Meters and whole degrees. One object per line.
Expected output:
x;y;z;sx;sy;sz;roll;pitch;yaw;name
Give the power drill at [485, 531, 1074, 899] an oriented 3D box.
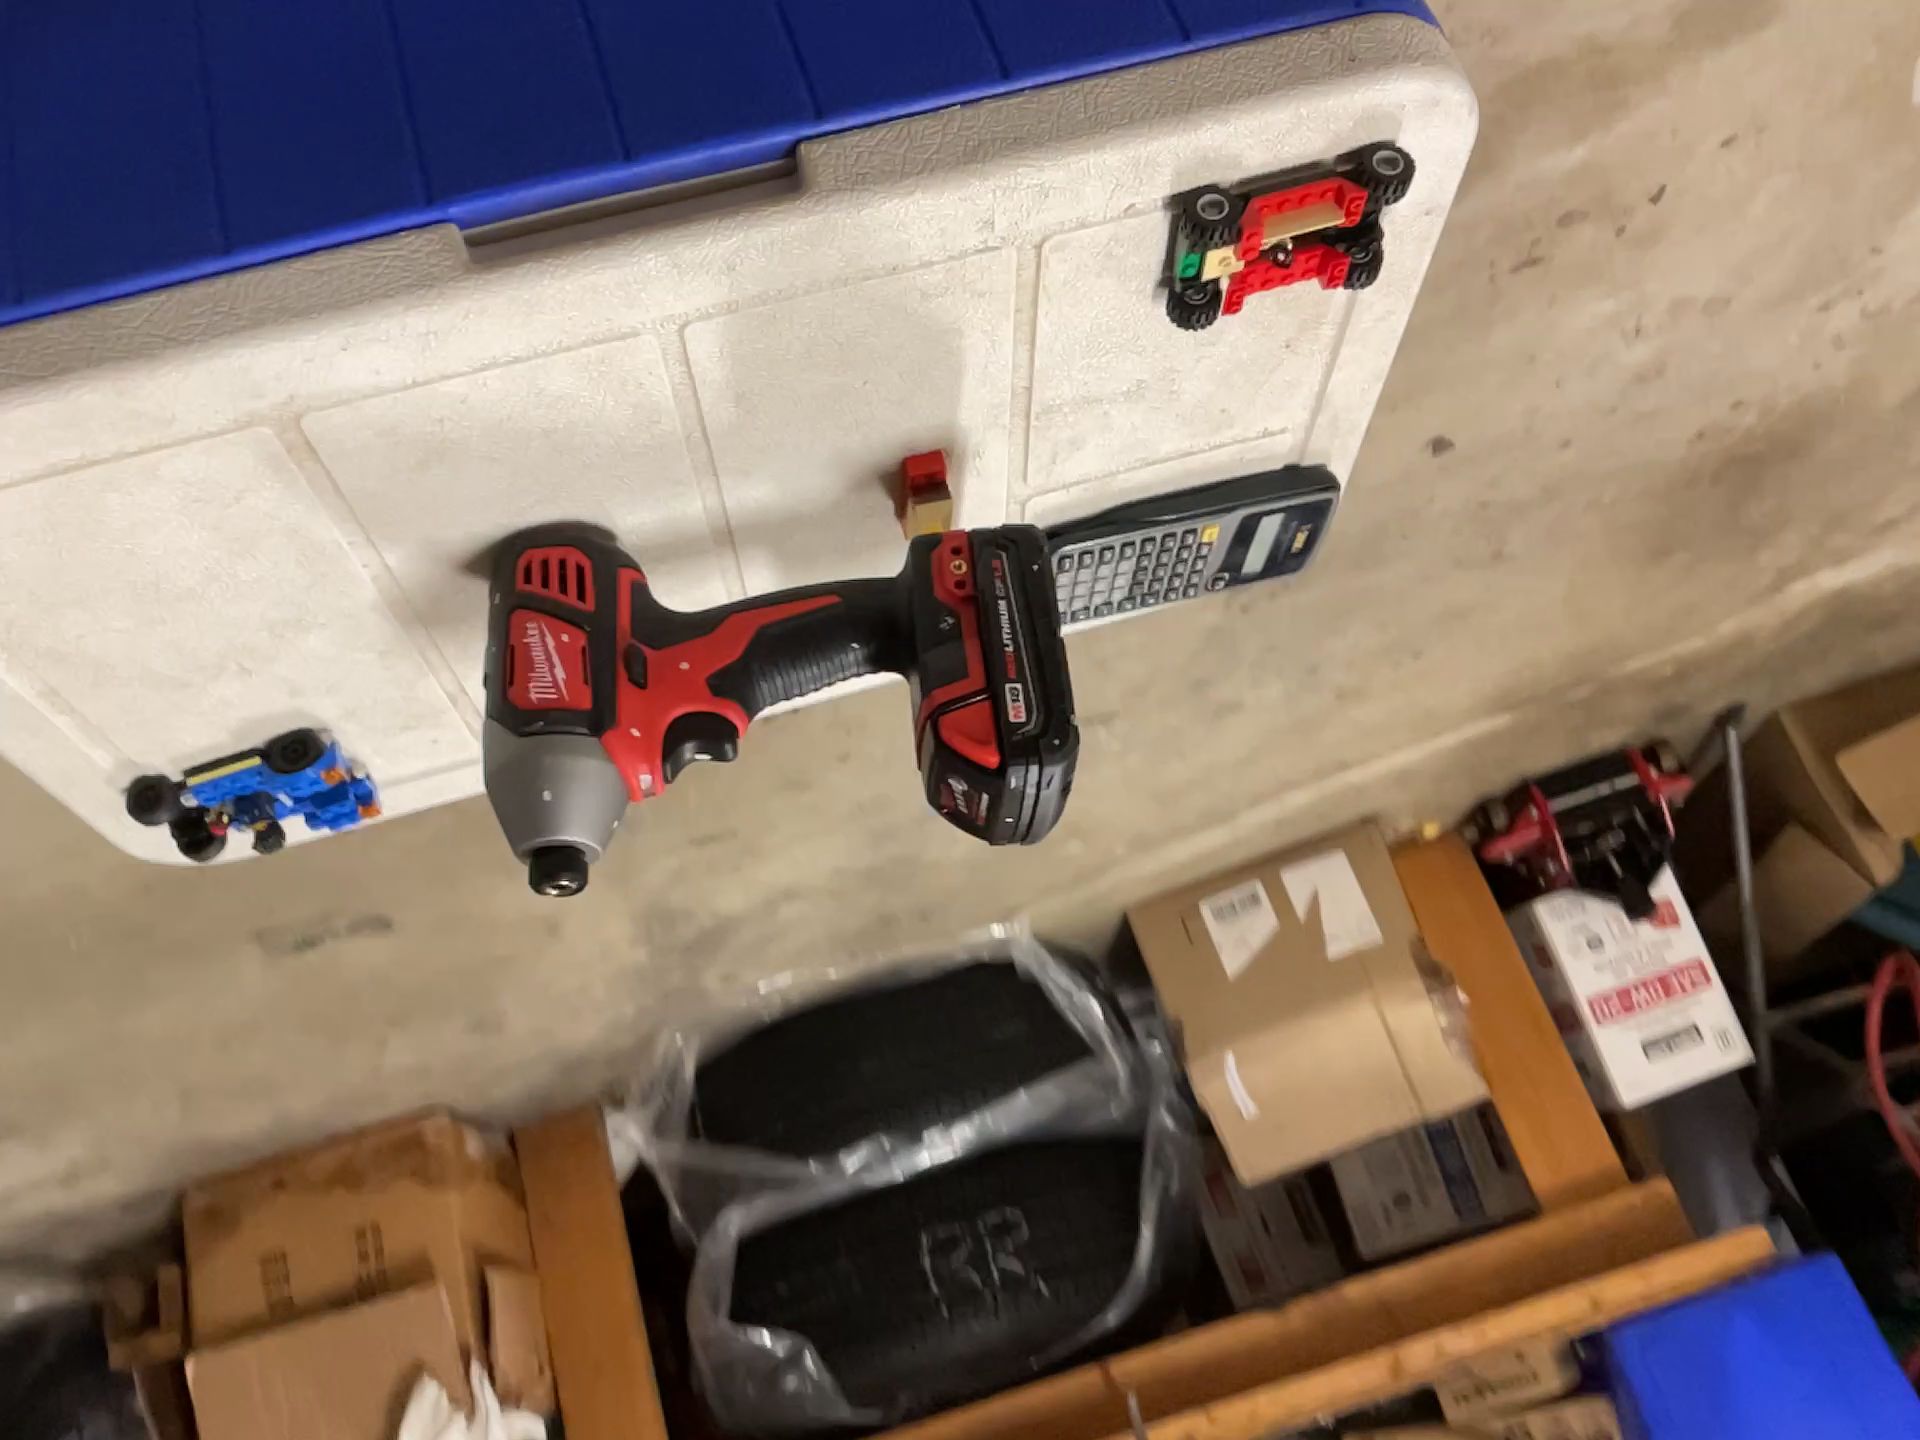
-0.073;-0.004;0.621;0.219;0.143;0.078;-2;153;-6;power drill
